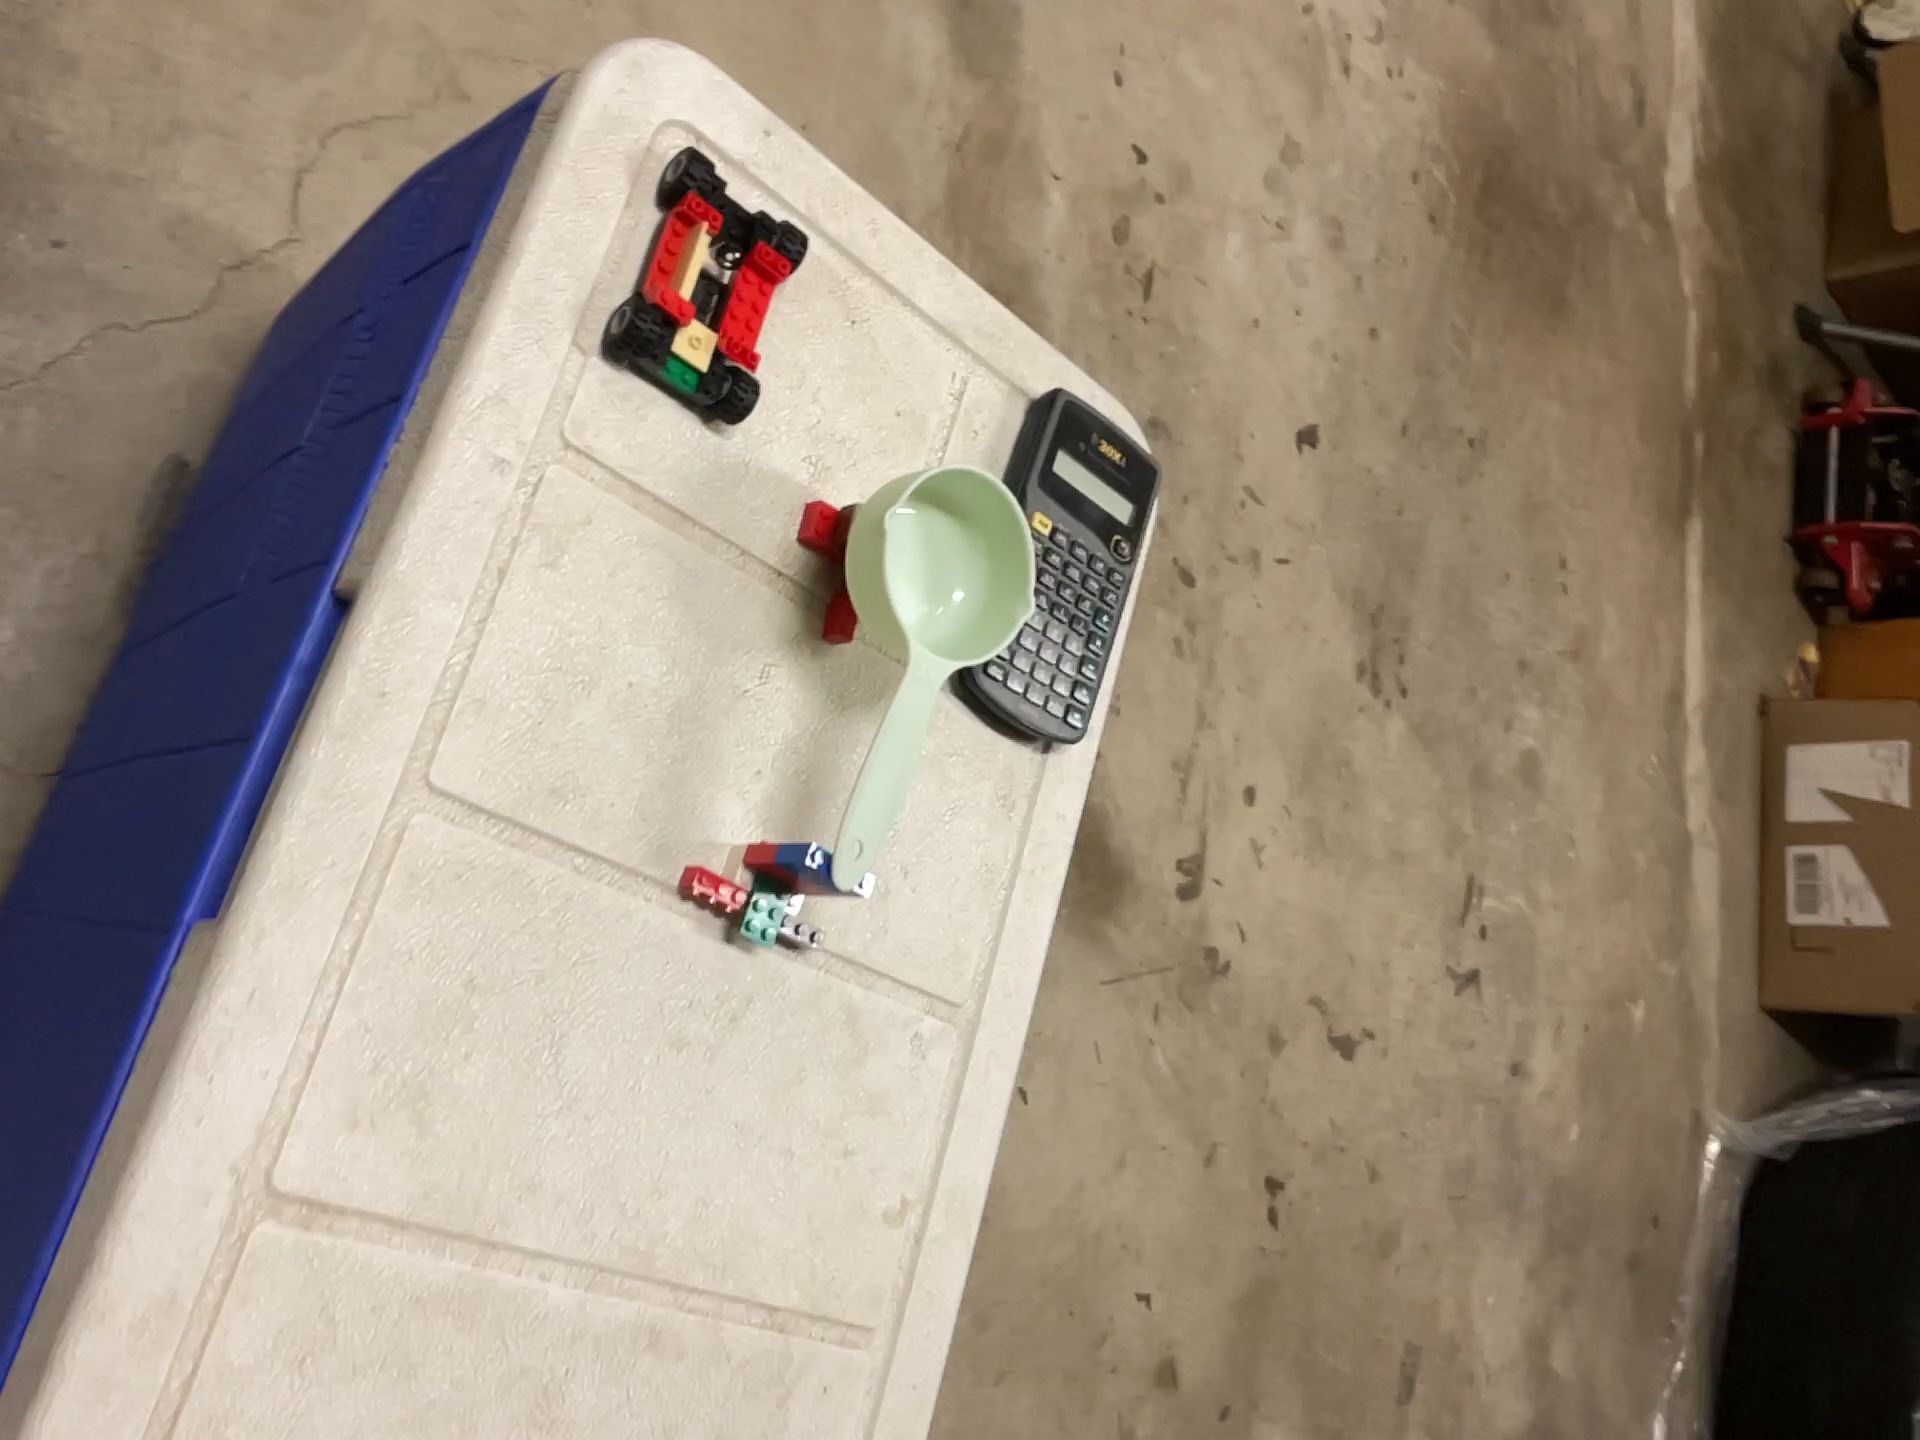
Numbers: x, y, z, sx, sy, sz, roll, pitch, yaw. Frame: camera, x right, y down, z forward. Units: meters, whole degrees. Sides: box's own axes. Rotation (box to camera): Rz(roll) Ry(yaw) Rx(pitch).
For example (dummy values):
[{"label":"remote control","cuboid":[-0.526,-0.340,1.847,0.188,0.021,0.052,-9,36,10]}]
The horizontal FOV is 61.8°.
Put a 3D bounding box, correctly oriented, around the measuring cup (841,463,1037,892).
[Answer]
[{"label":"measuring cup","cuboid":[-0.024,-0.017,0.607,0.083,0.038,0.168,28,74,-39]}]
